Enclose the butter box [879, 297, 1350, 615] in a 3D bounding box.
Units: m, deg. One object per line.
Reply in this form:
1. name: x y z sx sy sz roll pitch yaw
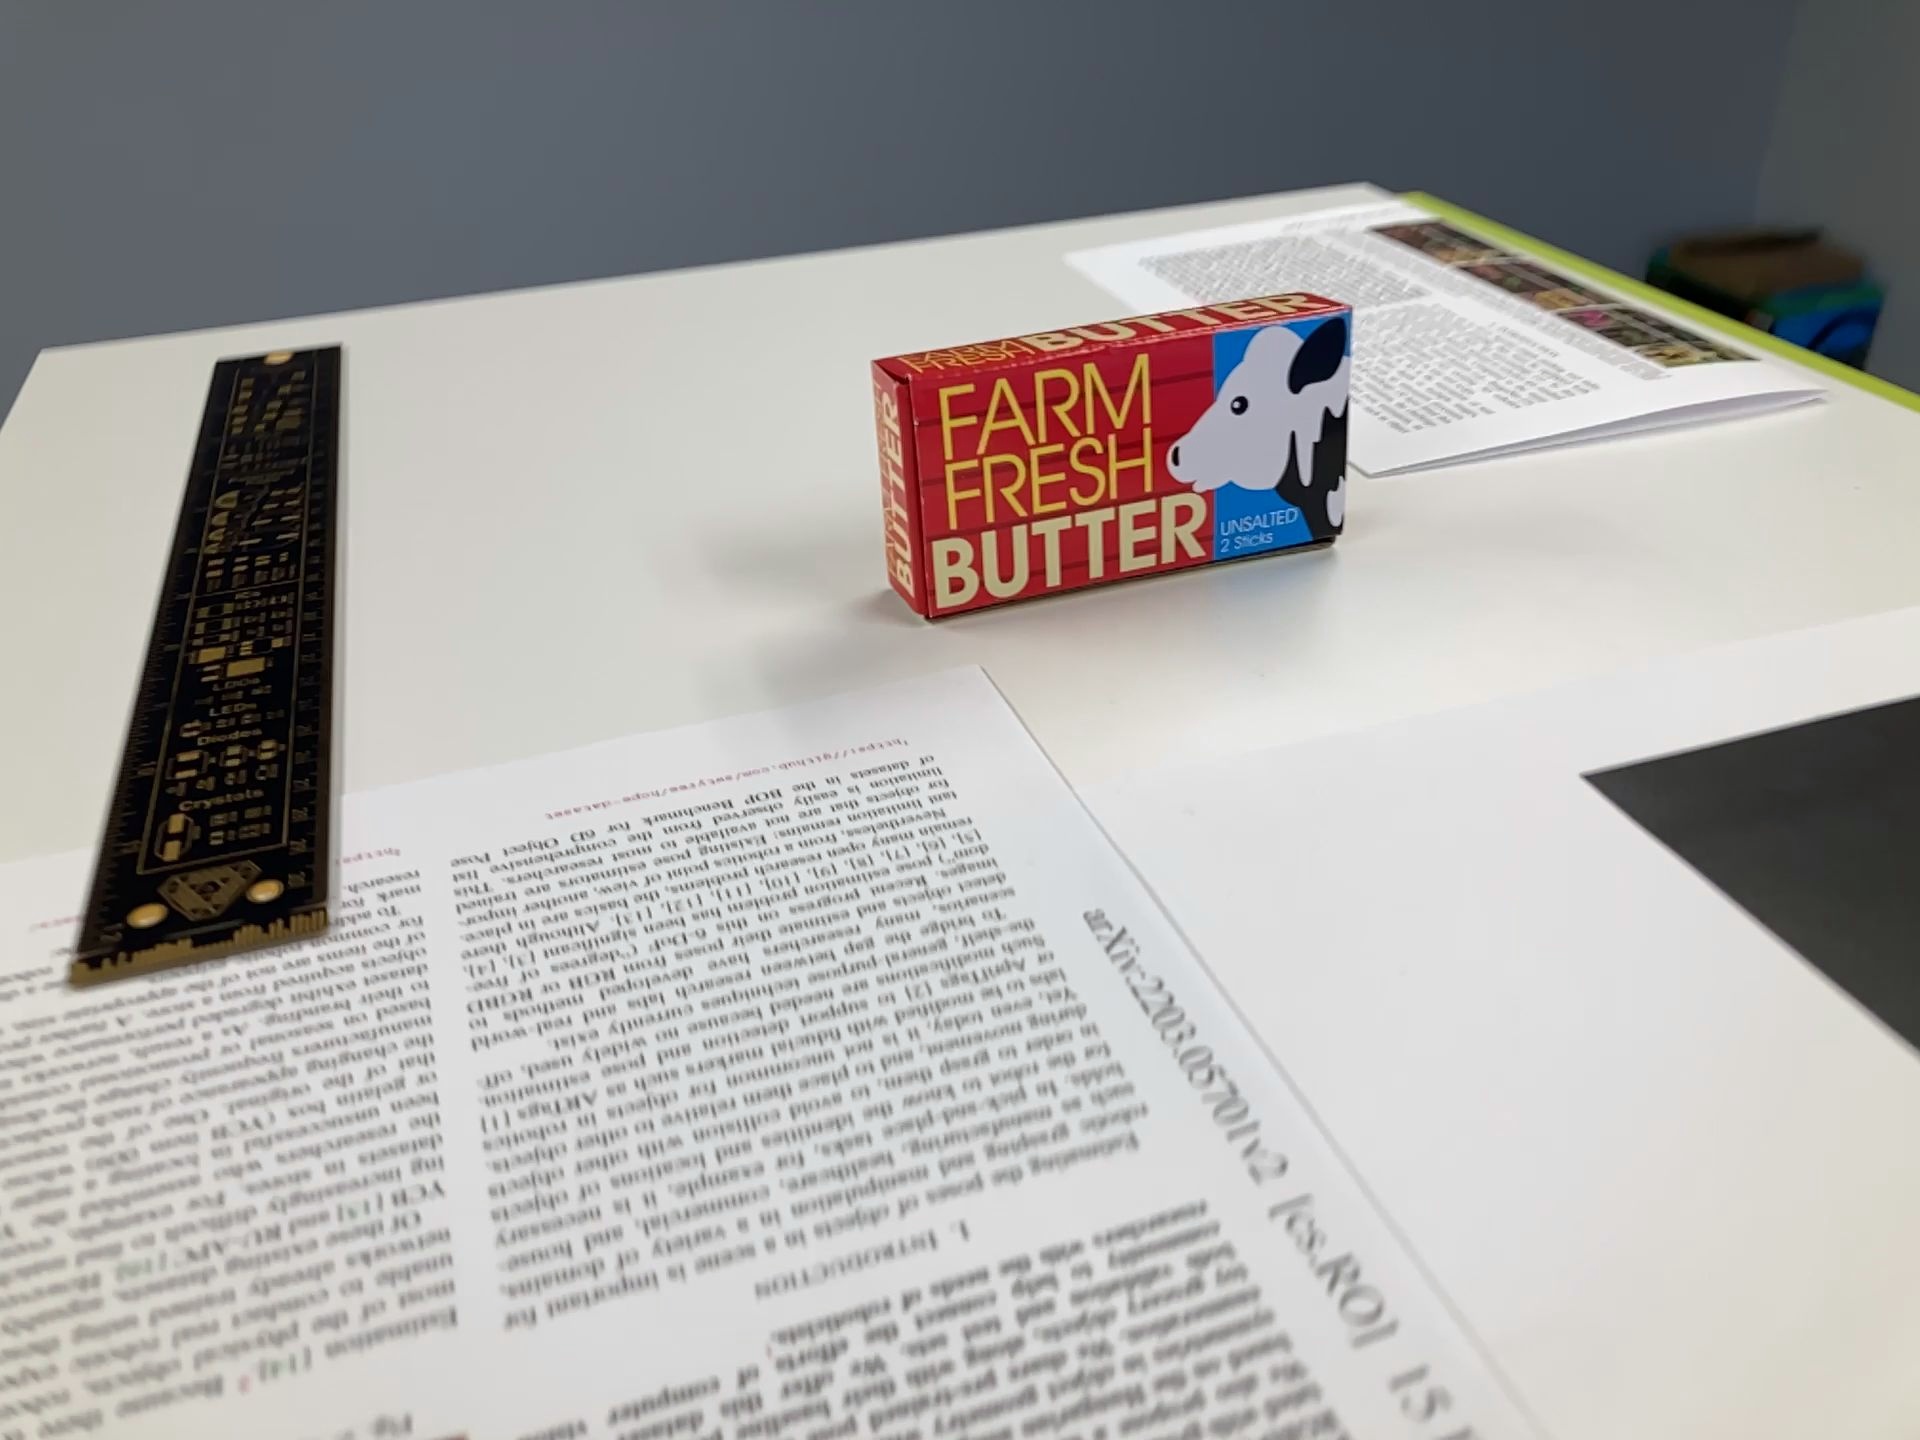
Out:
1. butter box: 0.036 -0.060 0.351 0.103 0.053 0.024 -12 28 -15
